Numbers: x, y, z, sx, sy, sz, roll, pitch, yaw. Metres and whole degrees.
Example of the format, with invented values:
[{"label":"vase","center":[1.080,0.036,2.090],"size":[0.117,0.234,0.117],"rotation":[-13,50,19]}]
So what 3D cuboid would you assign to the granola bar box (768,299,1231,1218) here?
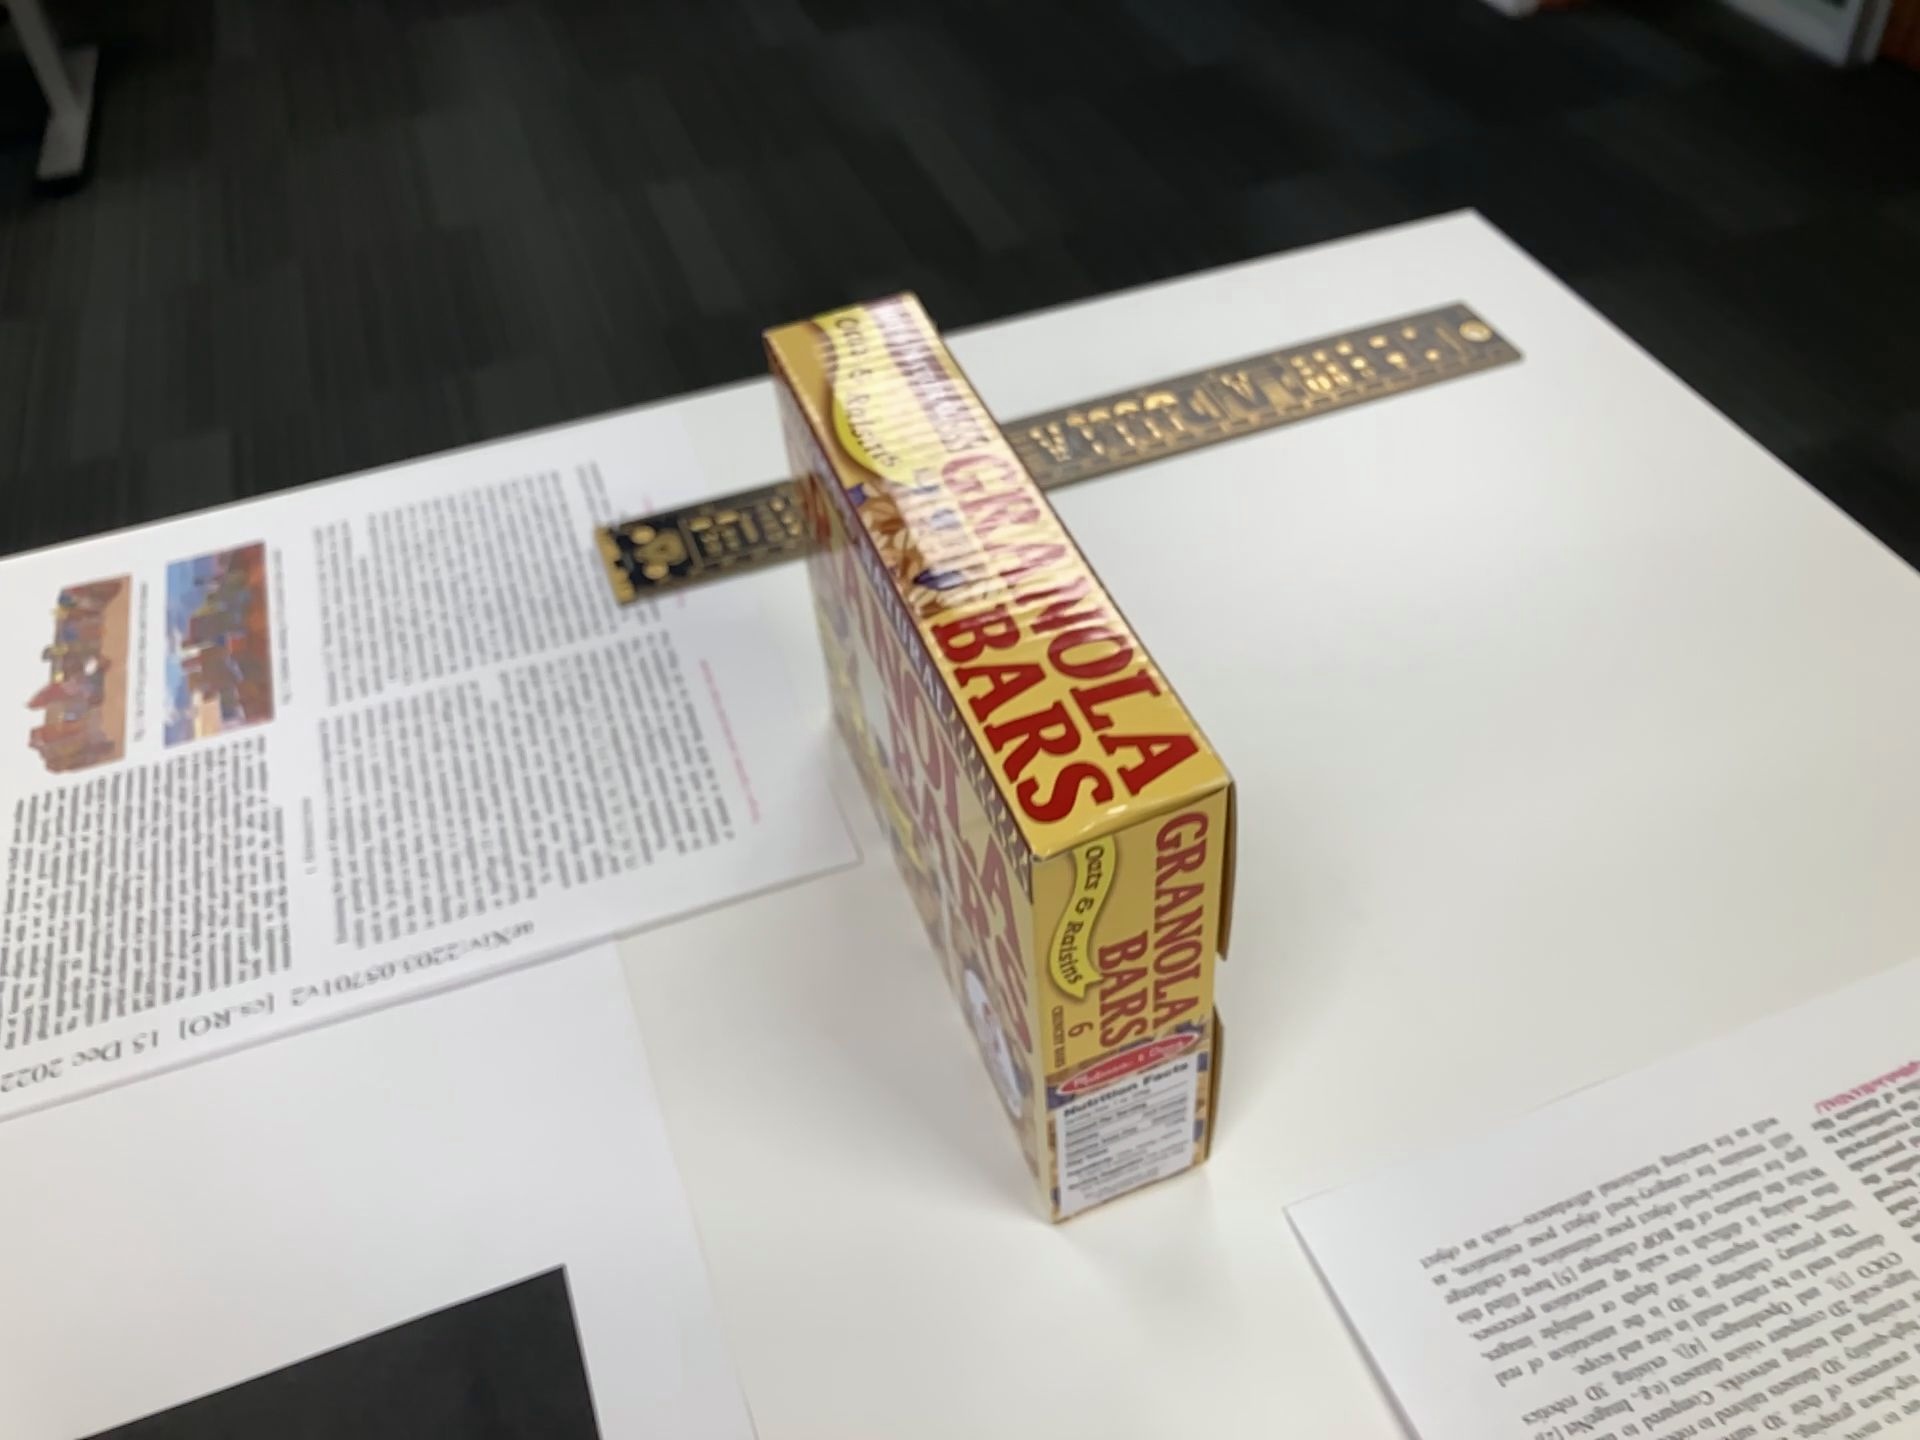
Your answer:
[{"label":"granola bar box","center":[0.006,0.004,0.352],"size":[0.039,0.124,0.165],"rotation":[-17,46,-11]}]
